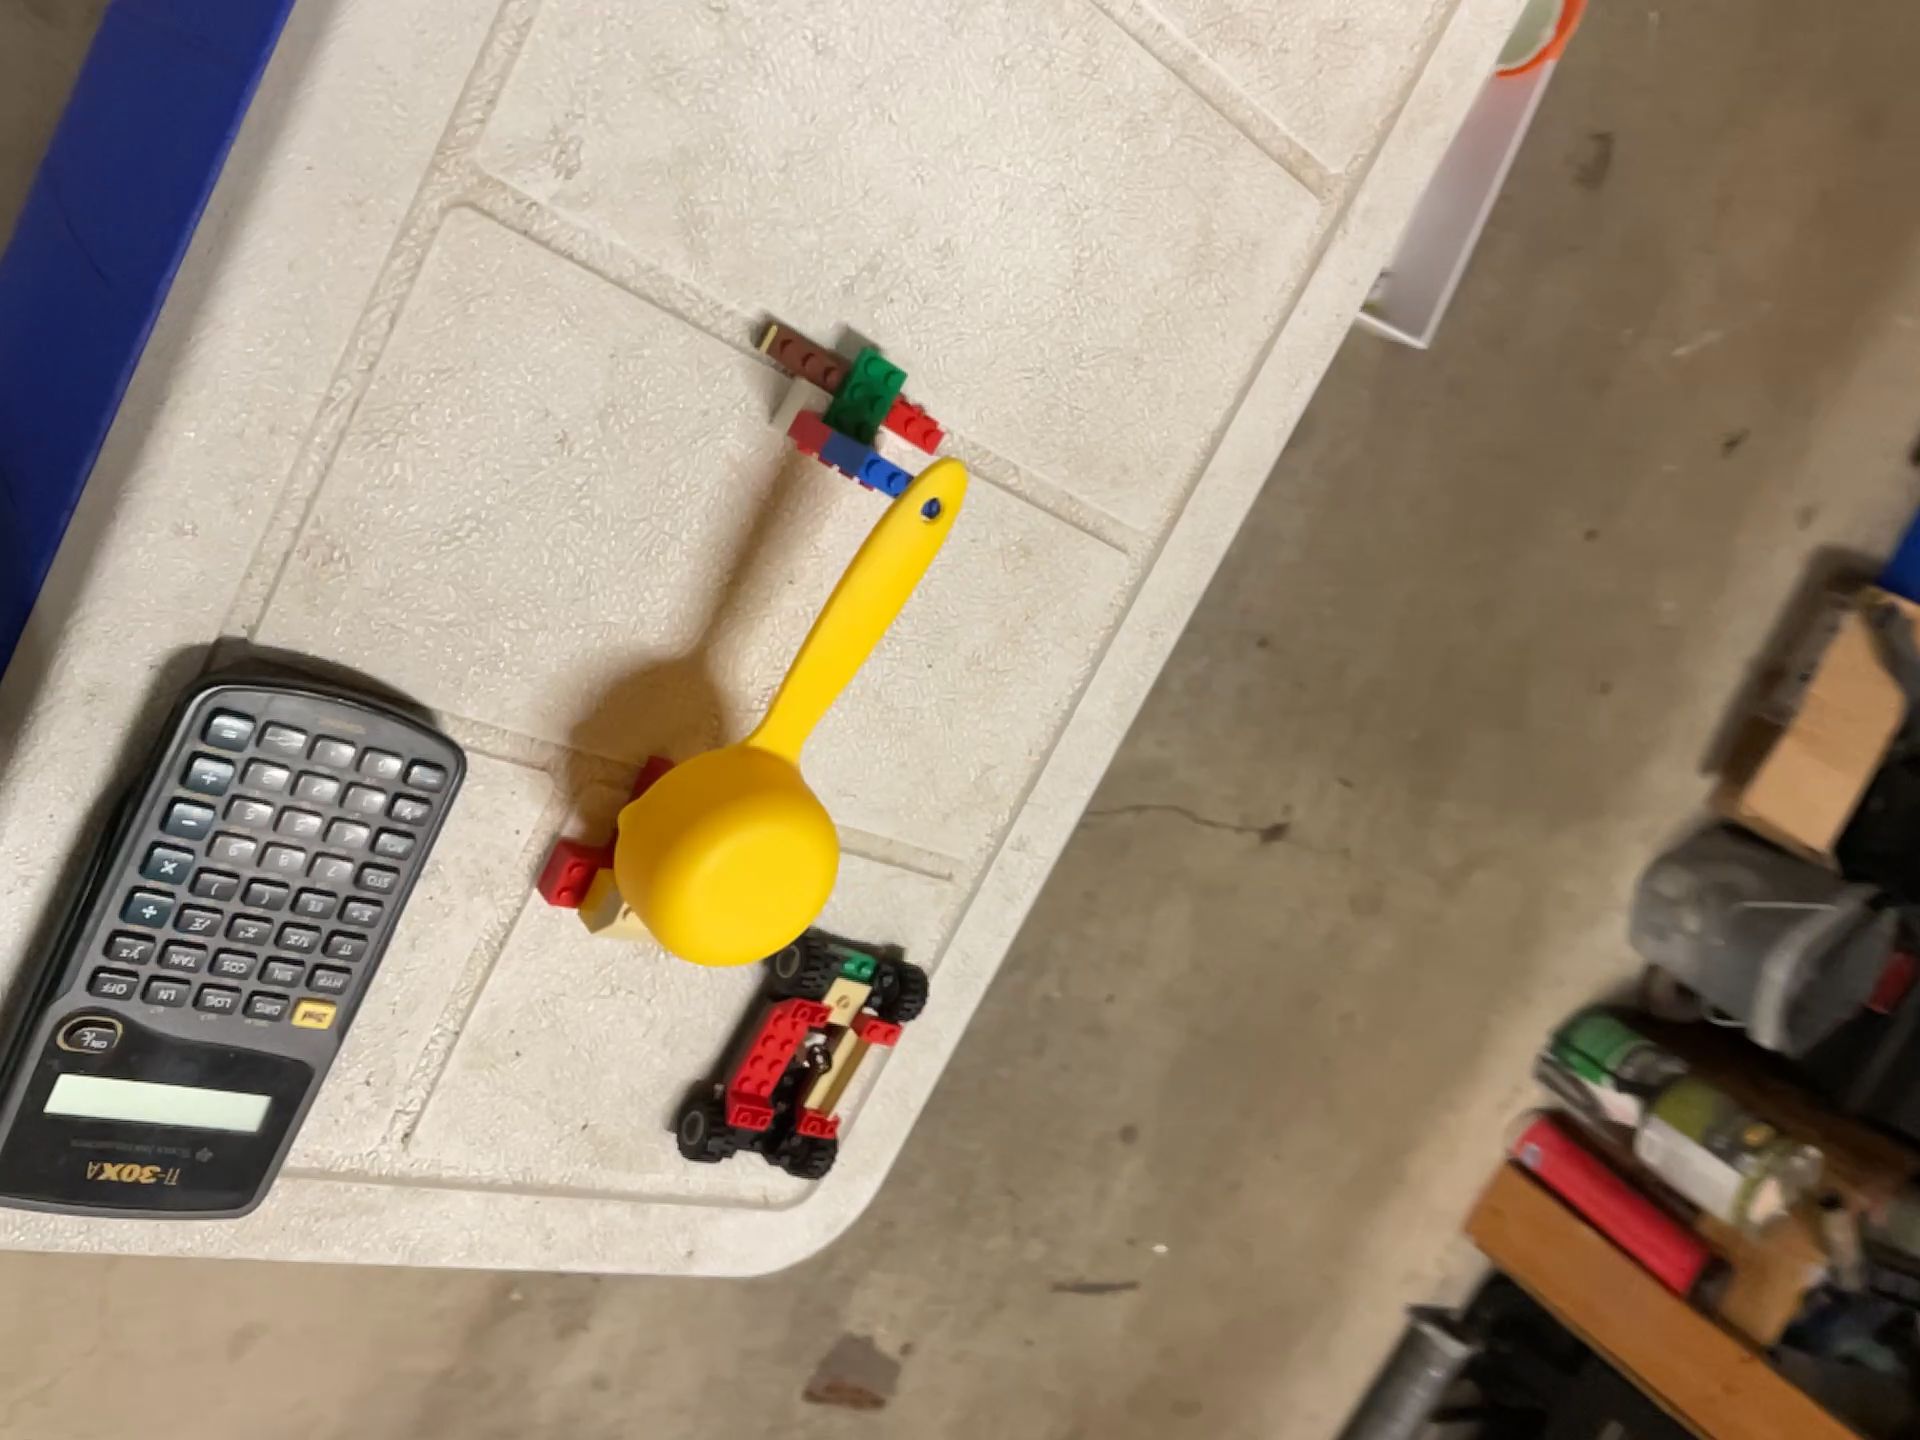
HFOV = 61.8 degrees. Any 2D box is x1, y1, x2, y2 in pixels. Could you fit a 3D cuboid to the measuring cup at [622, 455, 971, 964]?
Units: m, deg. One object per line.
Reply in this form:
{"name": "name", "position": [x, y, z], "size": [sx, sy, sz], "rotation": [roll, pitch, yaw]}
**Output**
{"name": "measuring cup", "position": [-0.036, 0.000, 0.434], "size": [0.062, 0.029, 0.156], "rotation": [22, 106, -42]}
